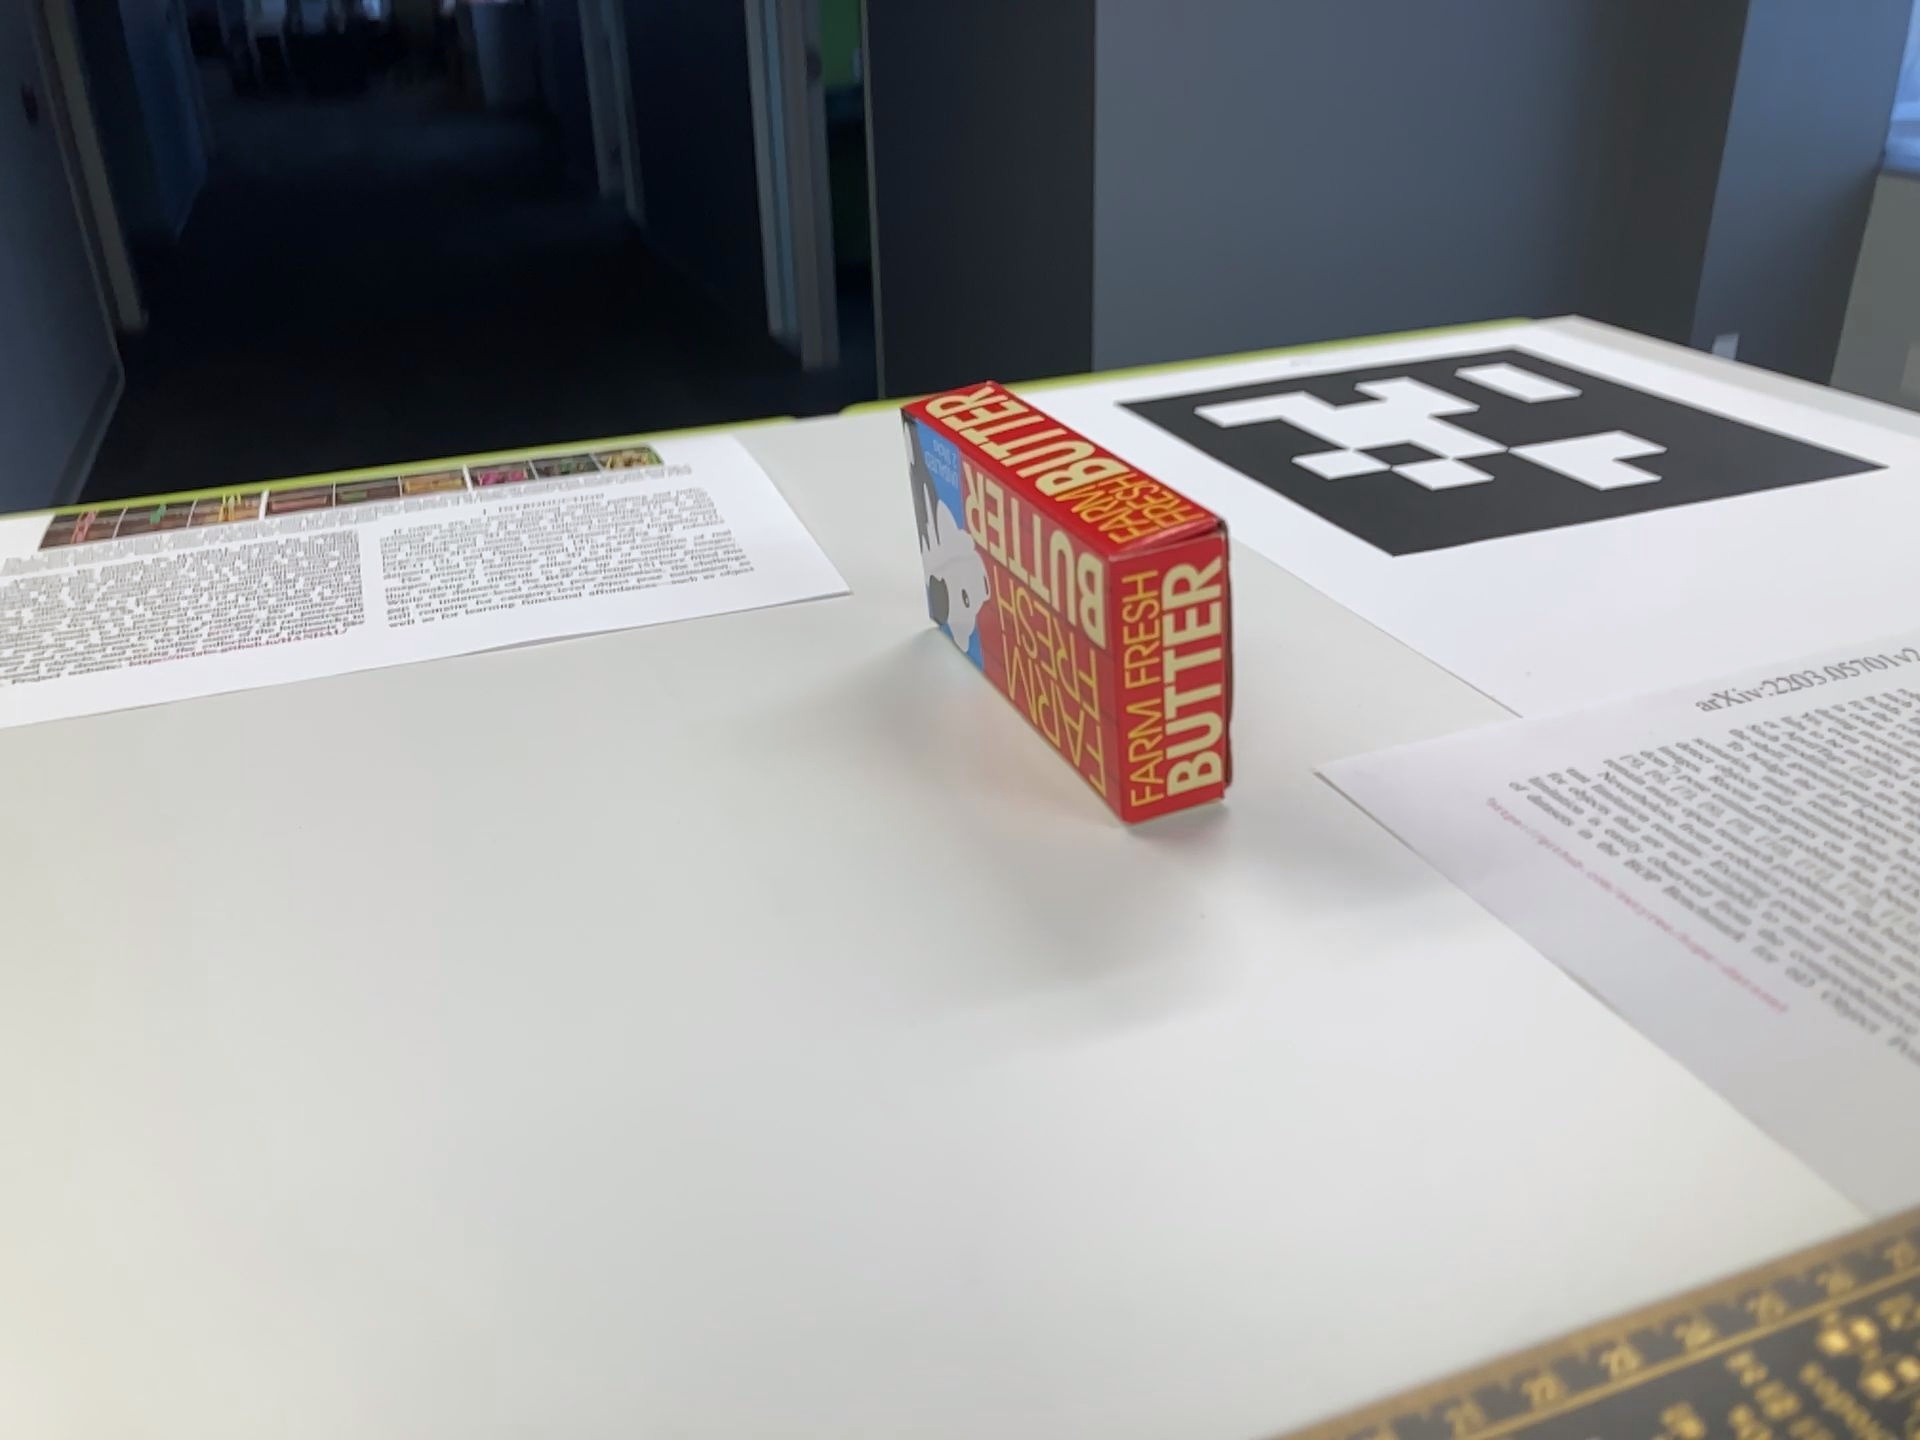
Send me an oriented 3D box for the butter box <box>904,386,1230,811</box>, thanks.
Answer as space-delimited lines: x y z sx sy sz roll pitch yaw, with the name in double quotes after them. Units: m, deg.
0.018 -0.028 0.316 0.024 0.053 0.103 -16 28 -15 "butter box"
